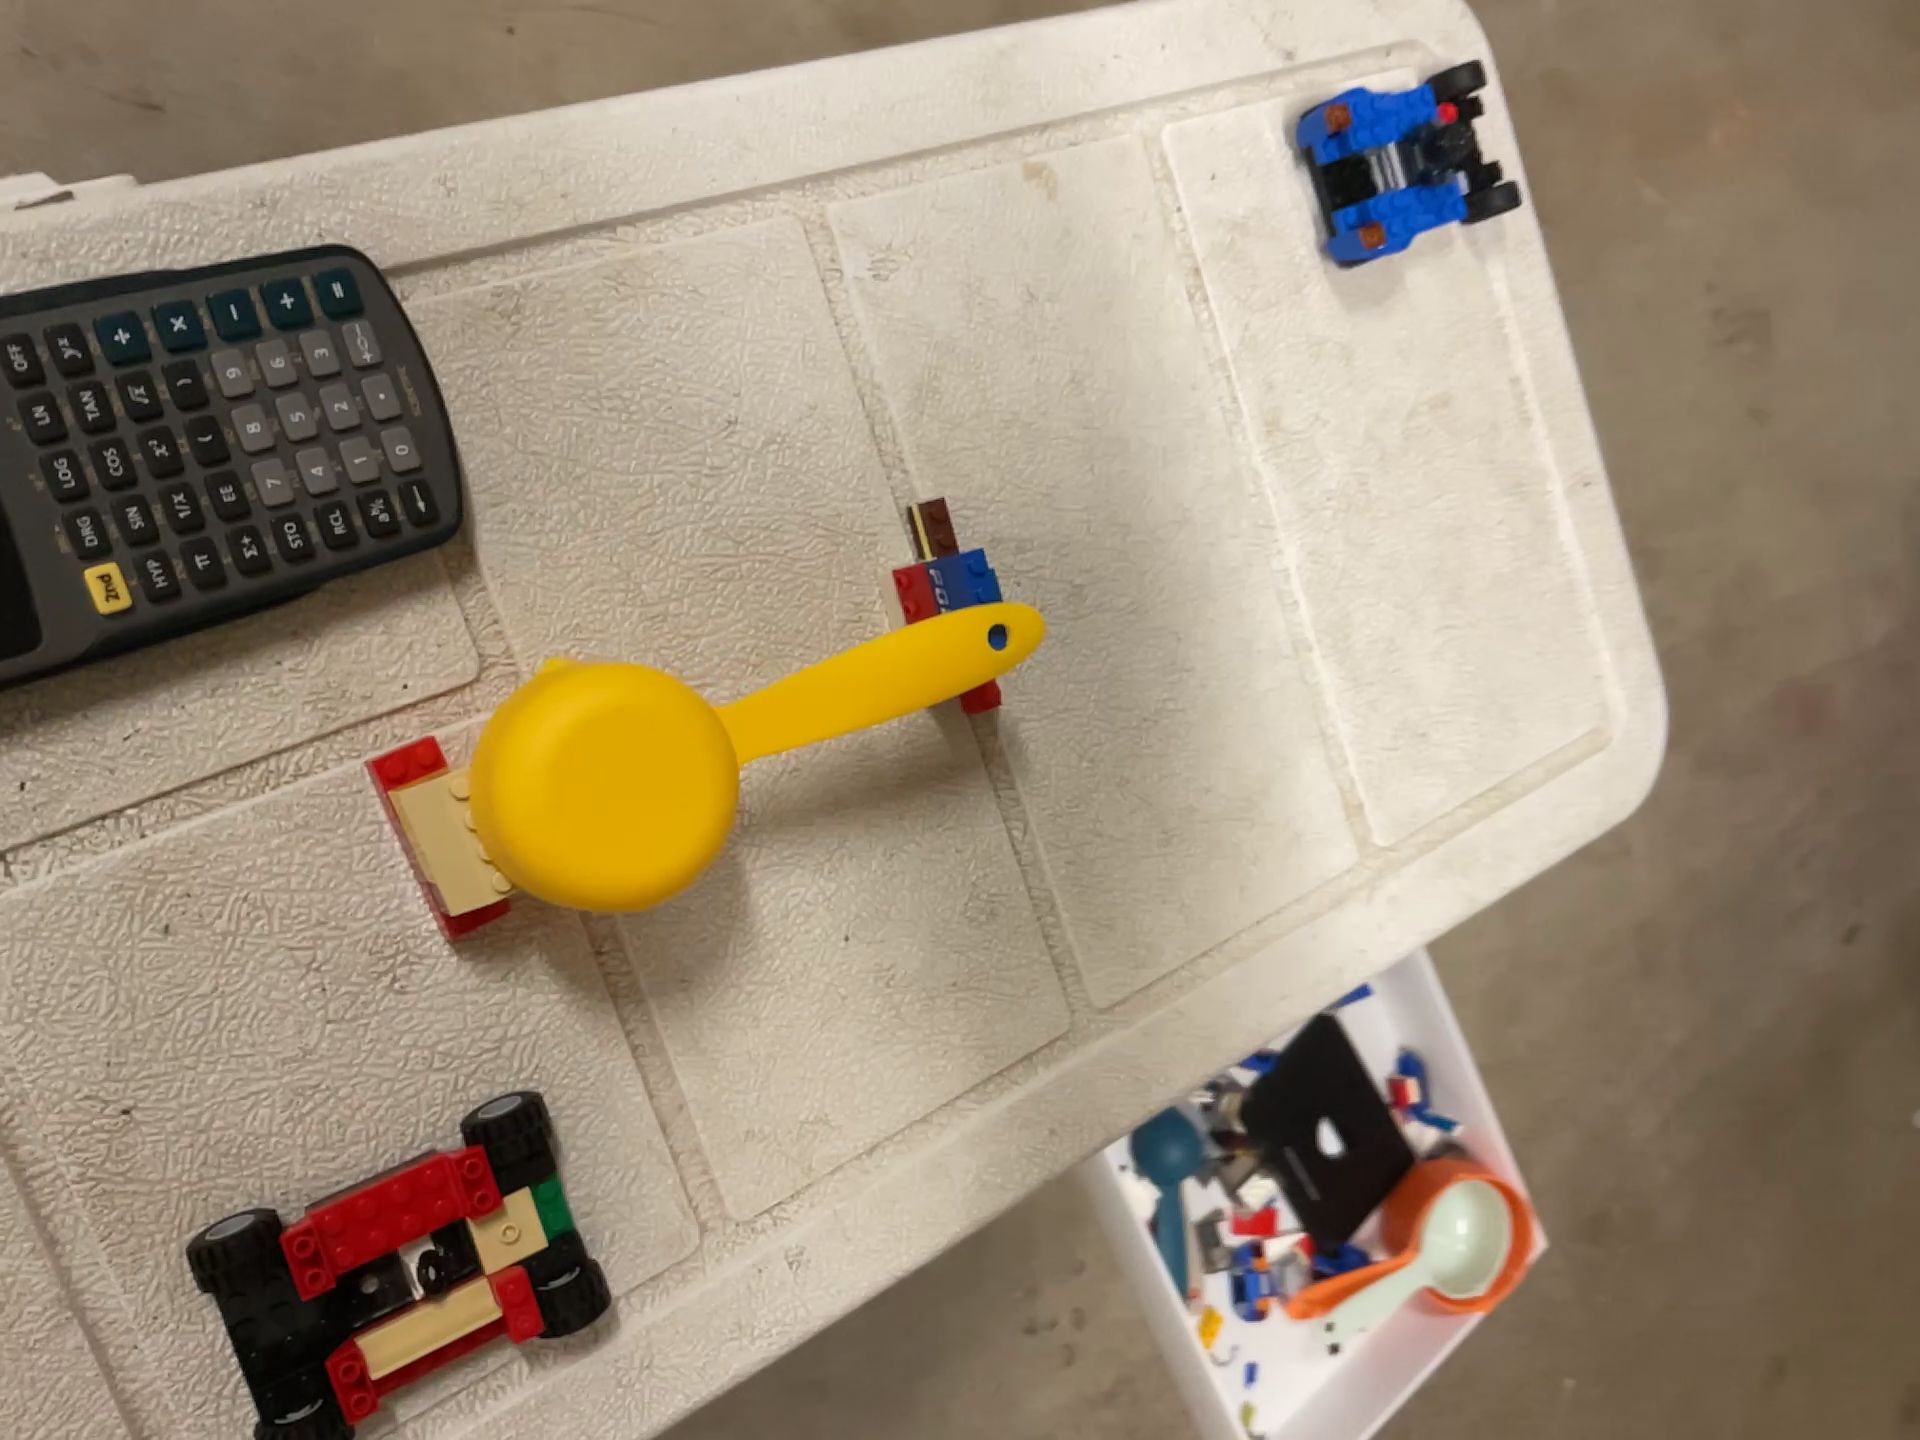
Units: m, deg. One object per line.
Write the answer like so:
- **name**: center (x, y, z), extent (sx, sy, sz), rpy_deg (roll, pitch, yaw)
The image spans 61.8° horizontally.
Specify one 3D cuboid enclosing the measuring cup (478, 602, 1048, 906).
- **measuring cup**: center (-0.039, -0.001, 0.394), extent (0.156, 0.029, 0.062), rpy_deg (-21, 99, -24)
